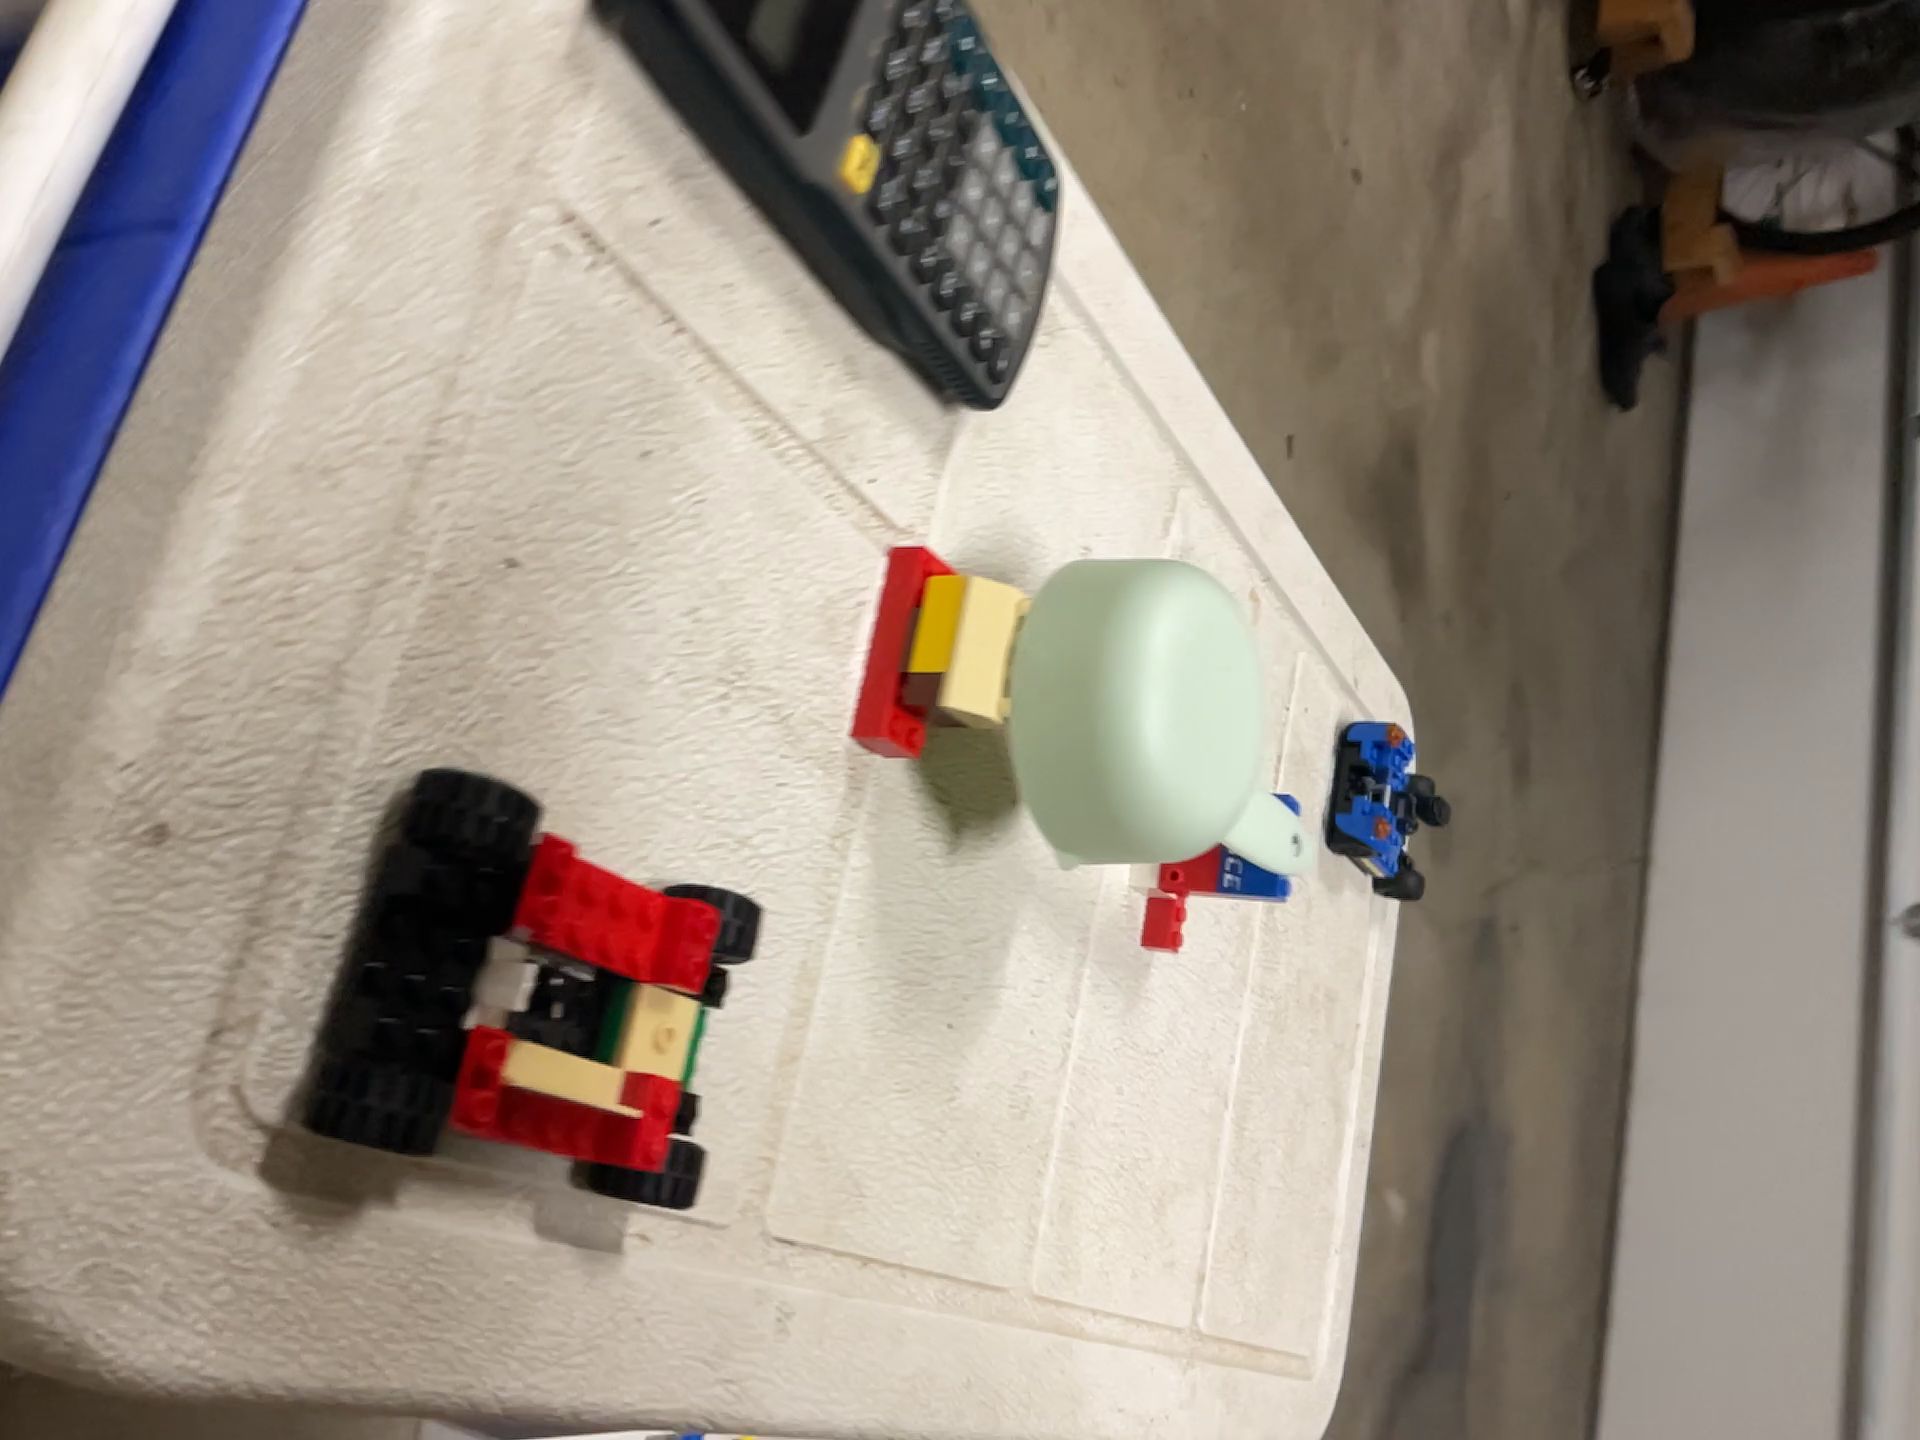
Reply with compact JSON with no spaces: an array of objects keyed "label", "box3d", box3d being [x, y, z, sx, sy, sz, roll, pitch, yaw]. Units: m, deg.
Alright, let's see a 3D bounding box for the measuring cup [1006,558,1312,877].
[{"label":"measuring cup","box3d":[0.072,0.014,0.424,0.168,0.038,0.083,32,64,-48]}]
